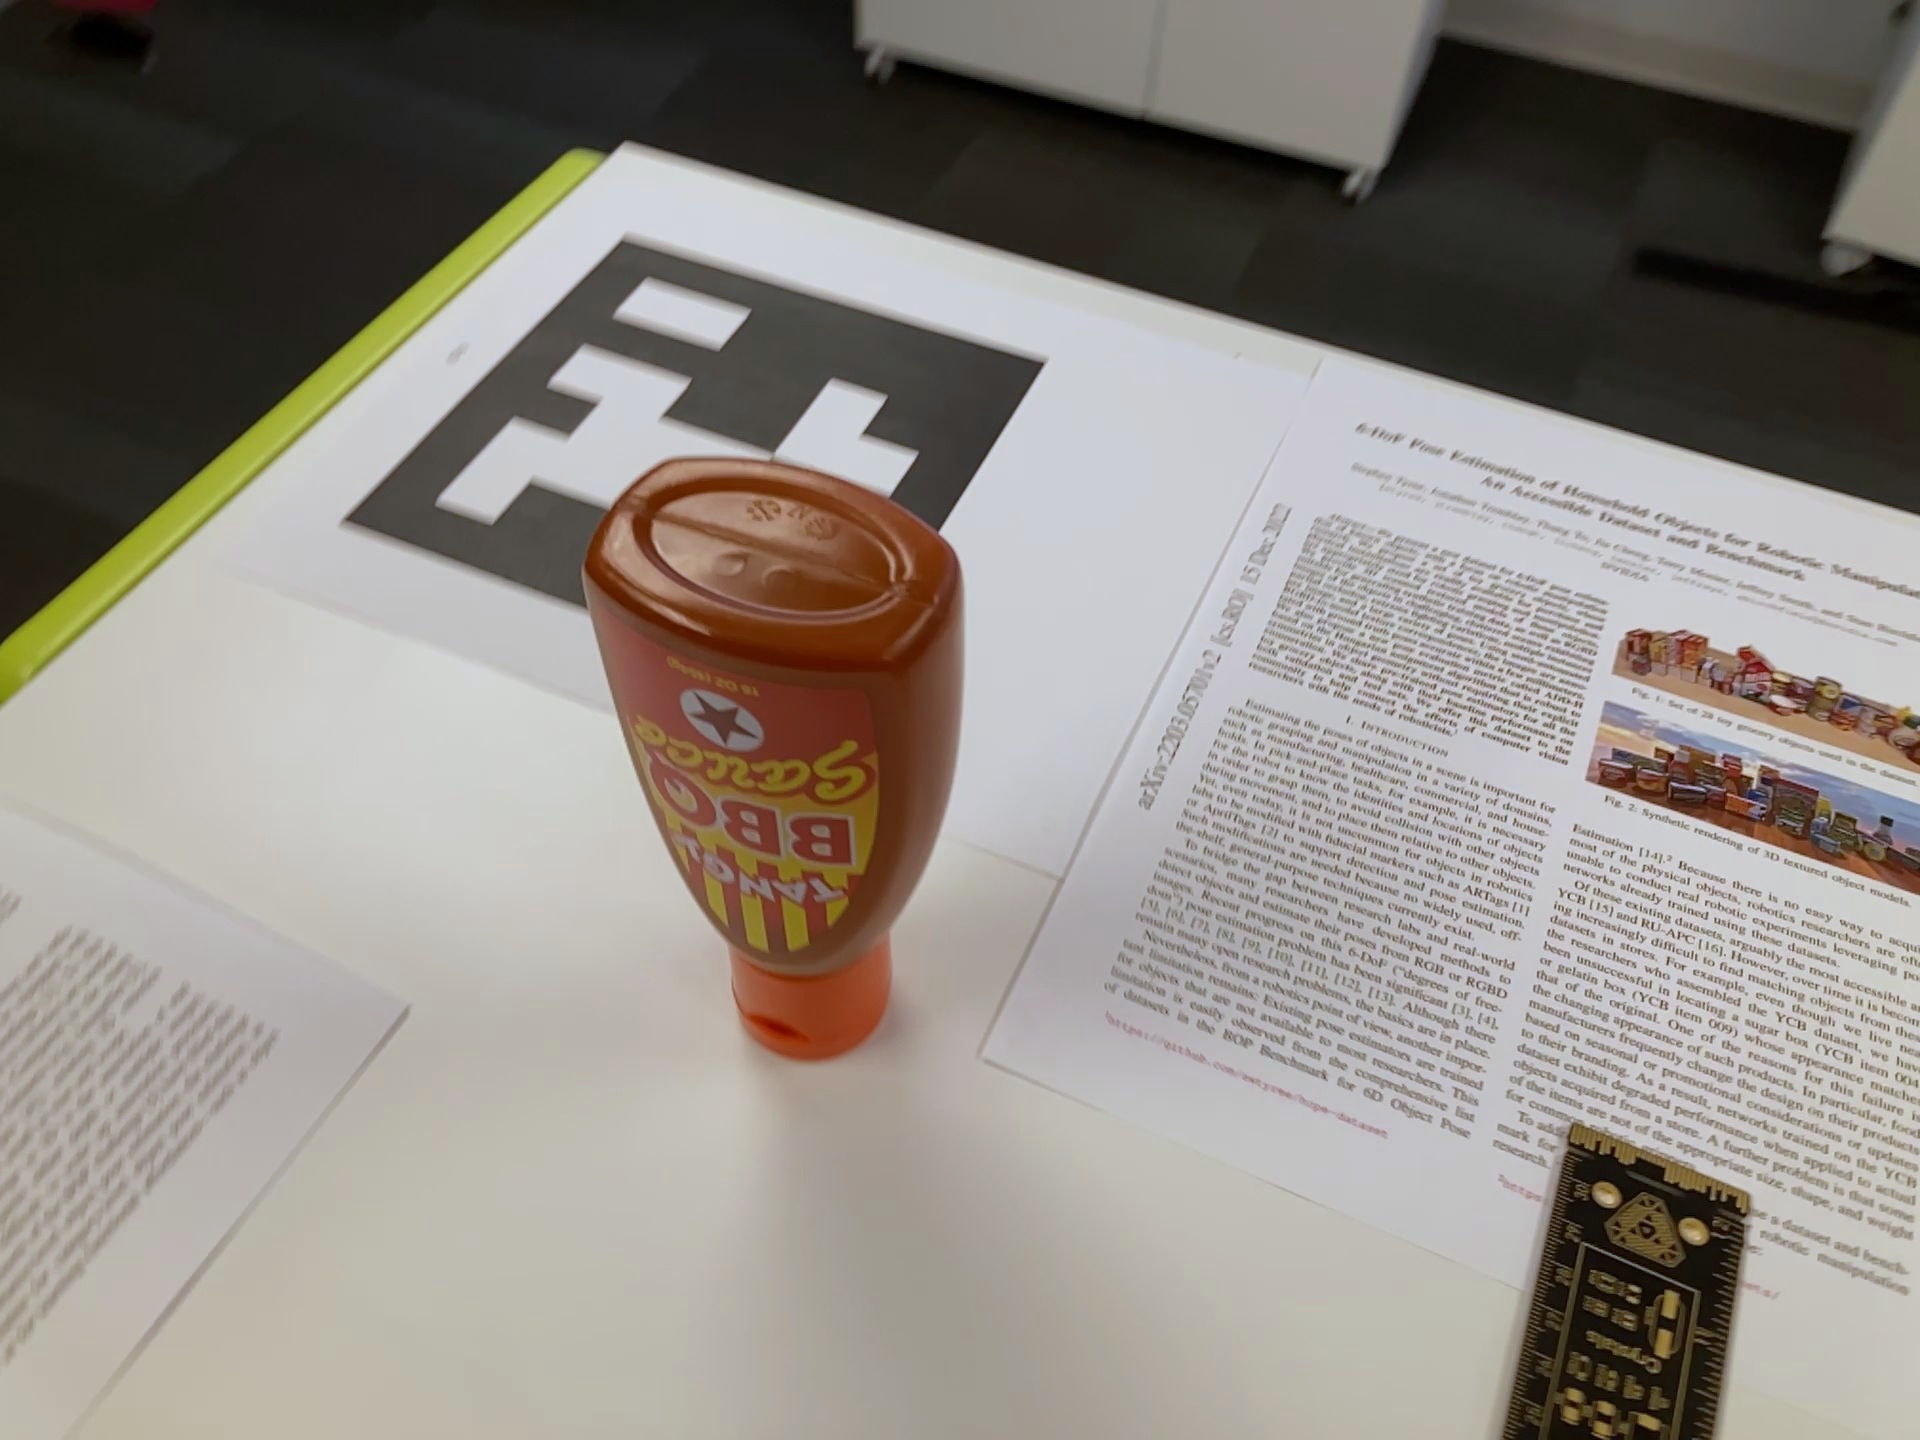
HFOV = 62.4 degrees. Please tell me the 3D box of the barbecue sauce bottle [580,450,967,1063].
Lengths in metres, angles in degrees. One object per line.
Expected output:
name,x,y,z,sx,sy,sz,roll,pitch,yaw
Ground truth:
barbecue sauce bottle,-0.032,0.017,0.313,0.065,0.148,0.043,19,53,13
